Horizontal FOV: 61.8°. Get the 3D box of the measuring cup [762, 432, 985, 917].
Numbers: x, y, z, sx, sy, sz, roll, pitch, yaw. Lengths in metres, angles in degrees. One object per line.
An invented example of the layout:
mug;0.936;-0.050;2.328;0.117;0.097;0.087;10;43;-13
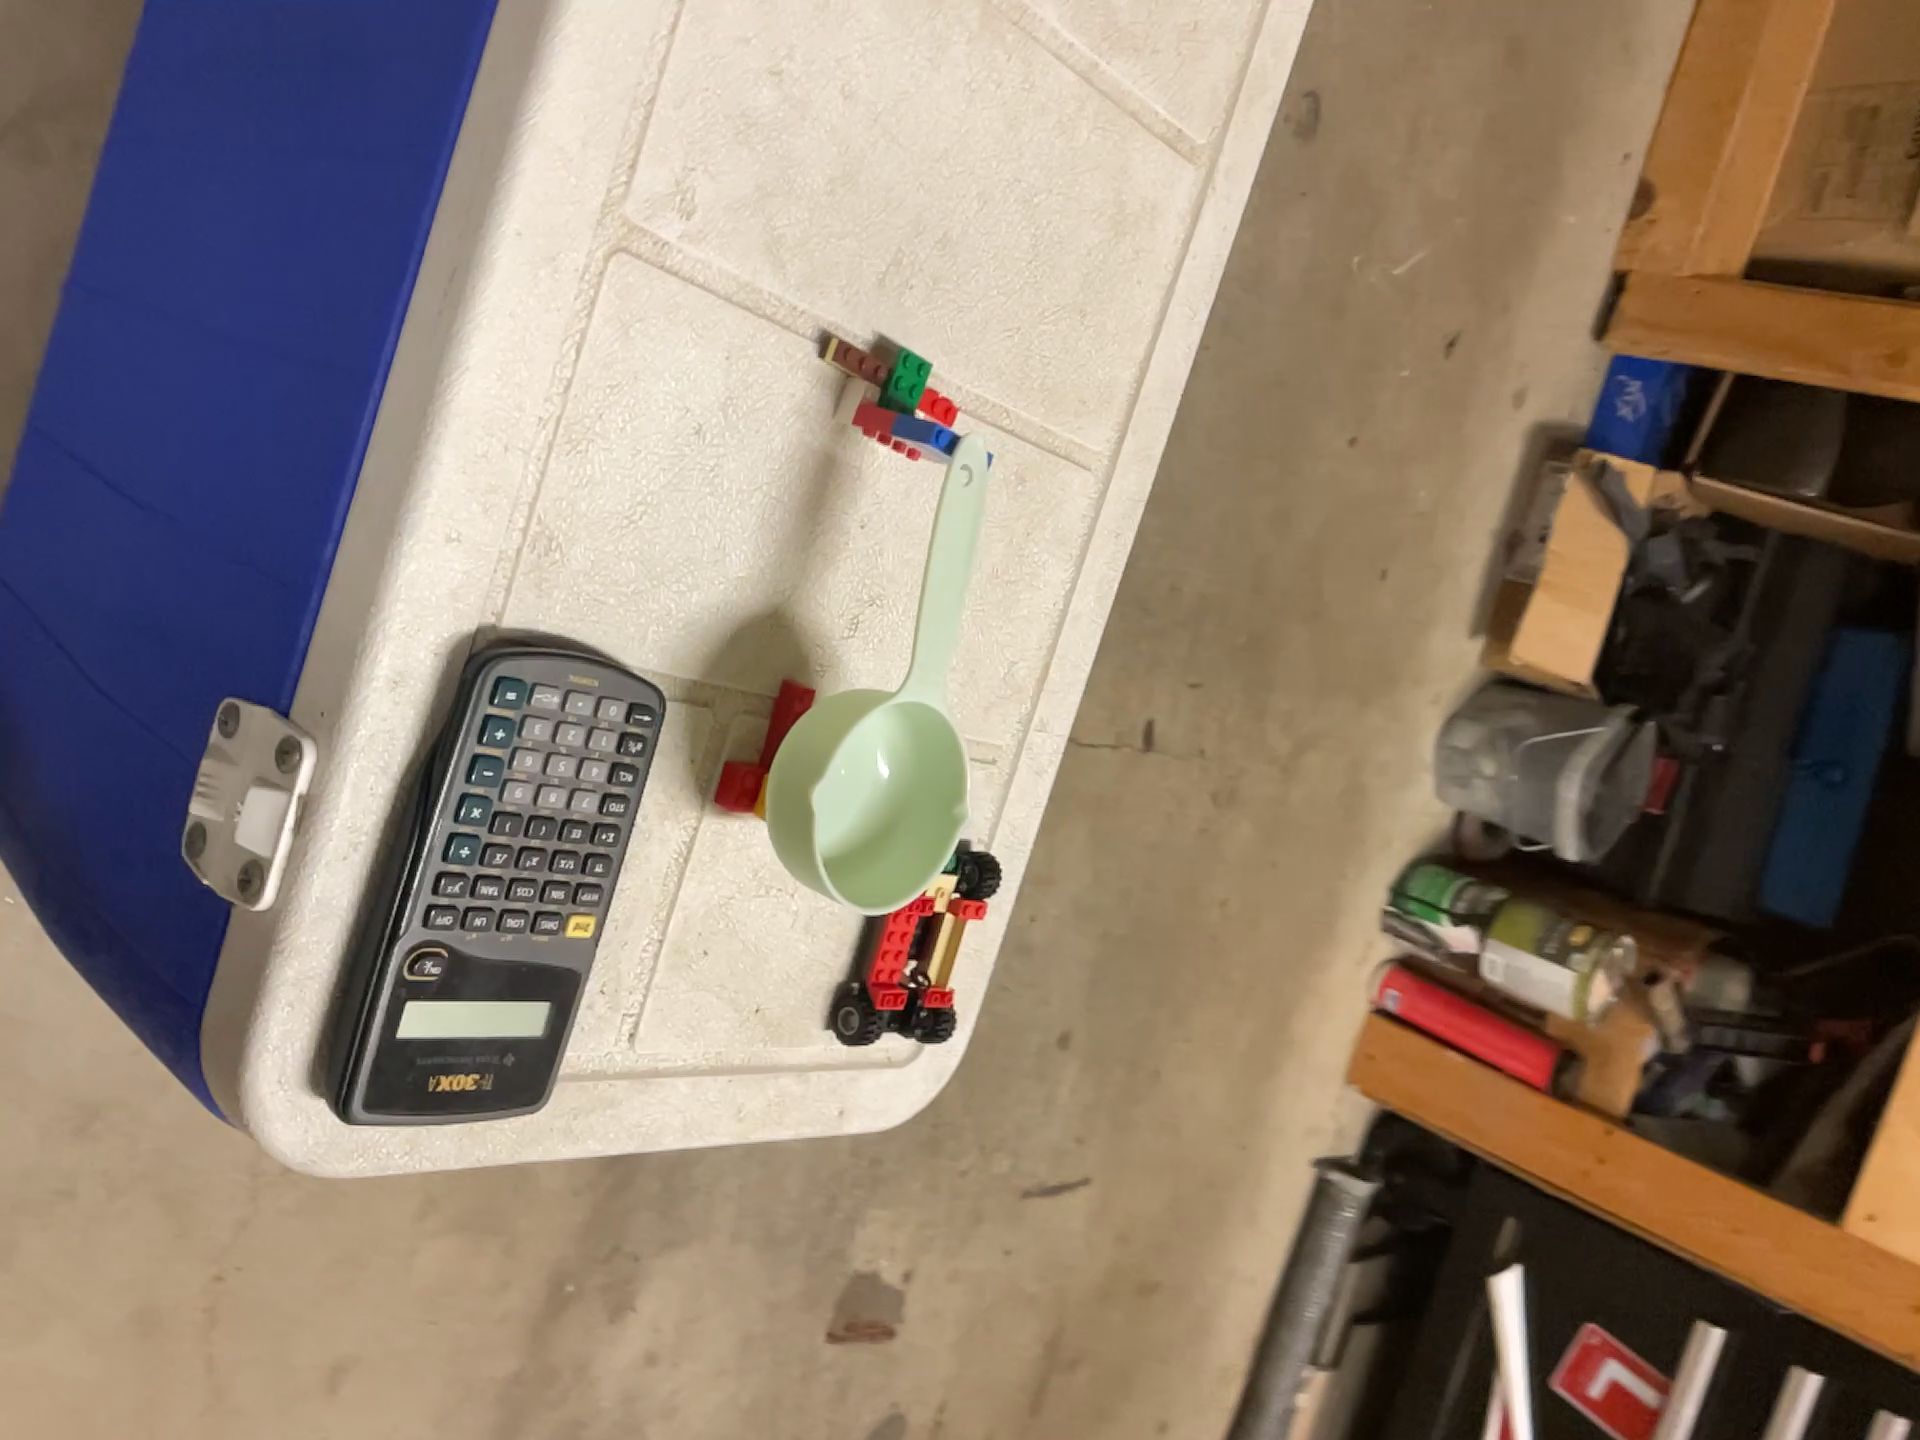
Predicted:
measuring cup;-0.024;-0.018;0.553;0.083;0.038;0.167;10;93;-49
